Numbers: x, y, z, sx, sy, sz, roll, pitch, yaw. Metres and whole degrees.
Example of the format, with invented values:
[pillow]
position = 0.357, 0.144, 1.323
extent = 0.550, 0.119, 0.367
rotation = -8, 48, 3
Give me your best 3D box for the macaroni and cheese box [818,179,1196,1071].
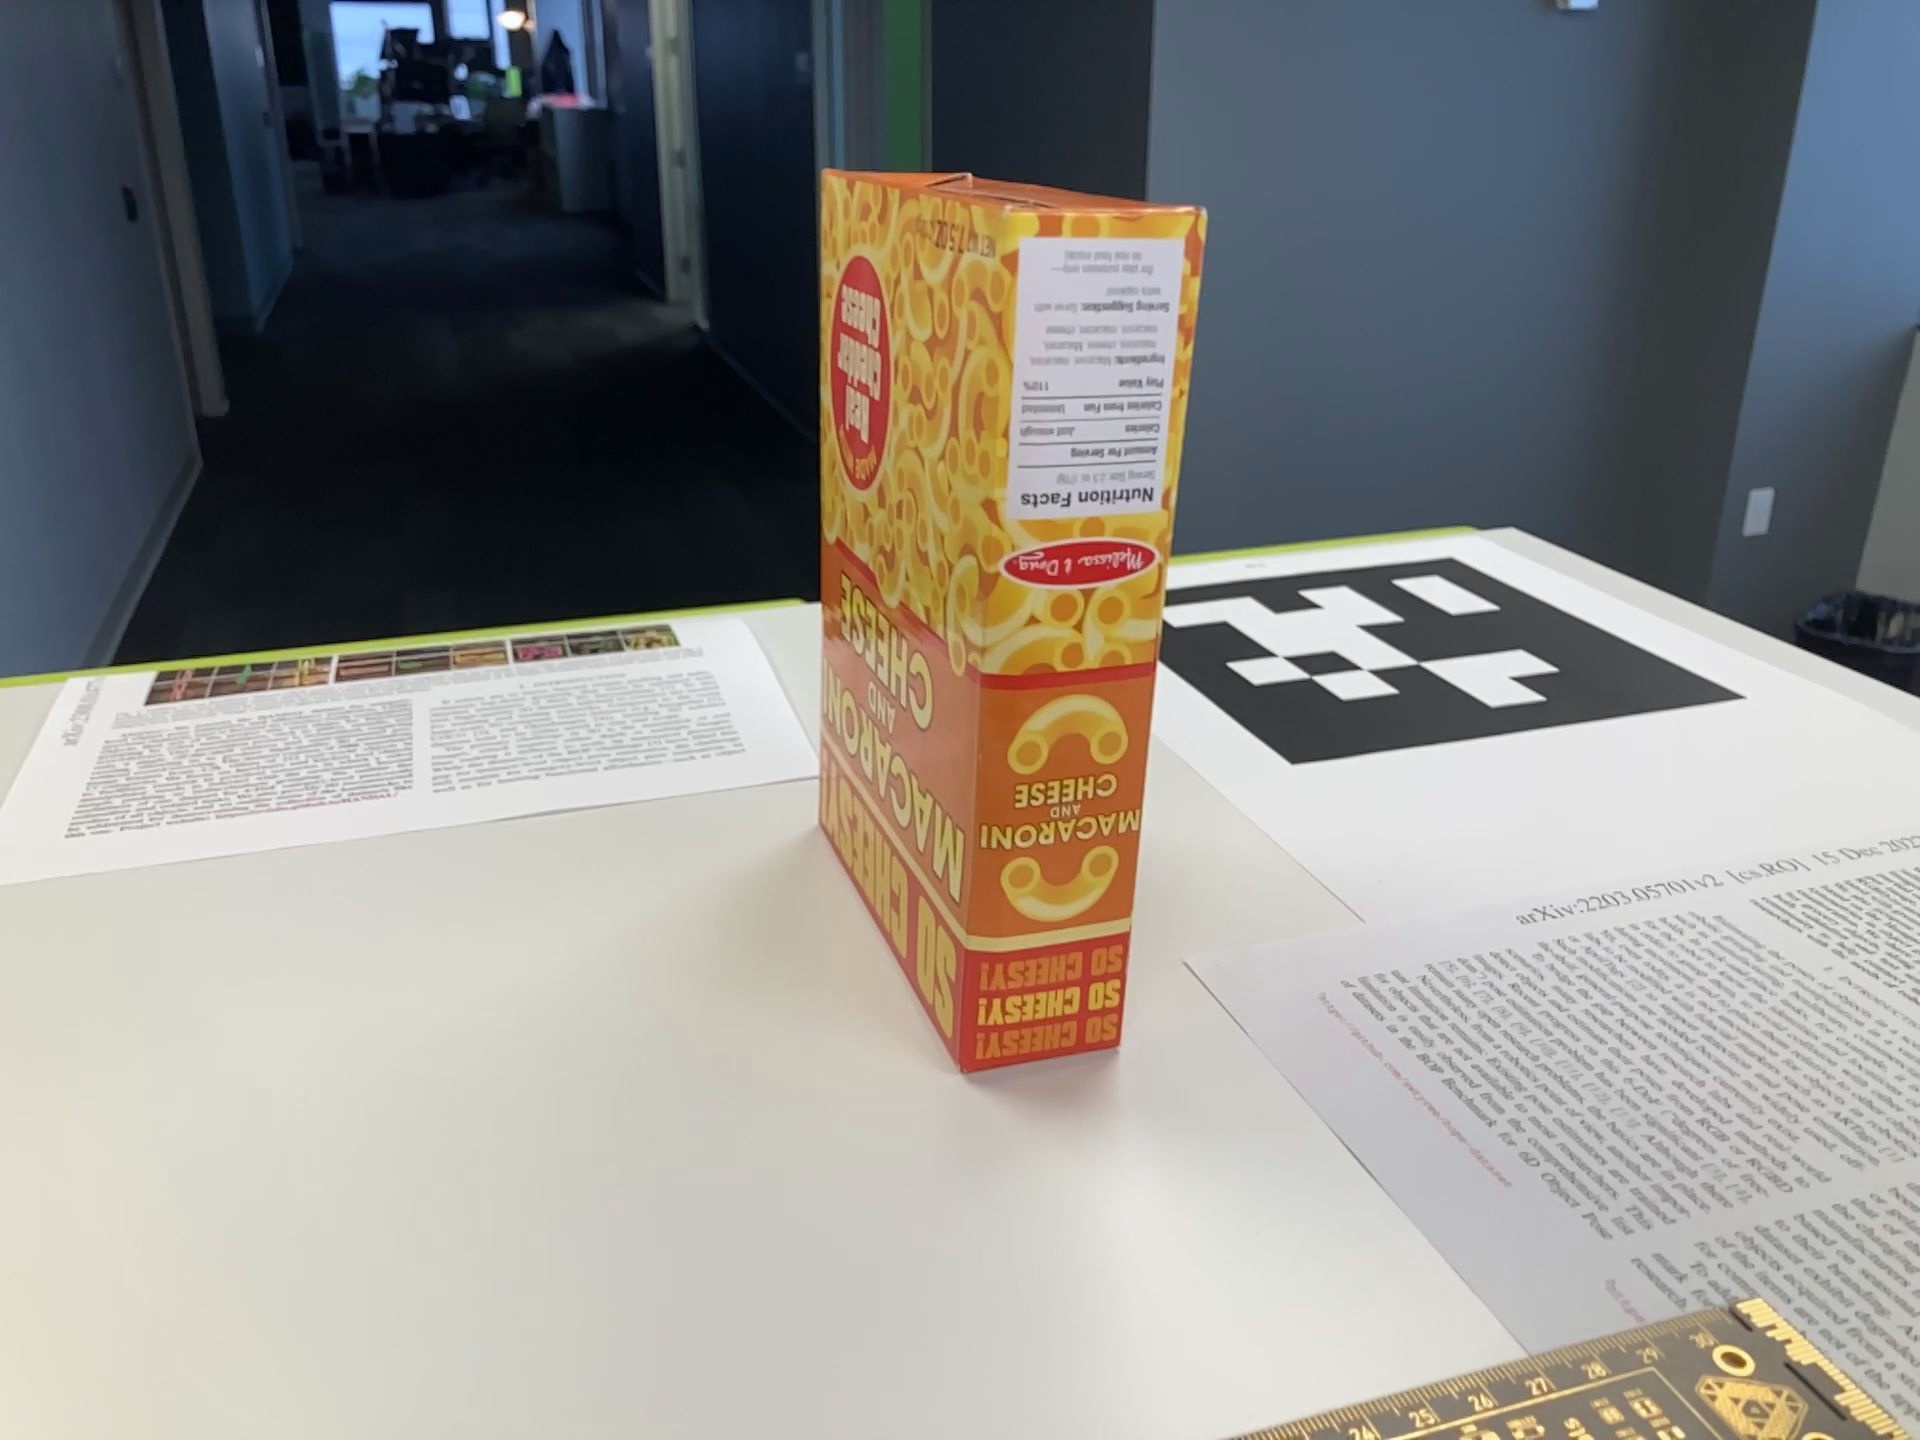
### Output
[macaroni and cheese box]
position = 0.002, -0.028, 0.349
extent = 0.040, 0.166, 0.124
rotation = -4, 21, -18
